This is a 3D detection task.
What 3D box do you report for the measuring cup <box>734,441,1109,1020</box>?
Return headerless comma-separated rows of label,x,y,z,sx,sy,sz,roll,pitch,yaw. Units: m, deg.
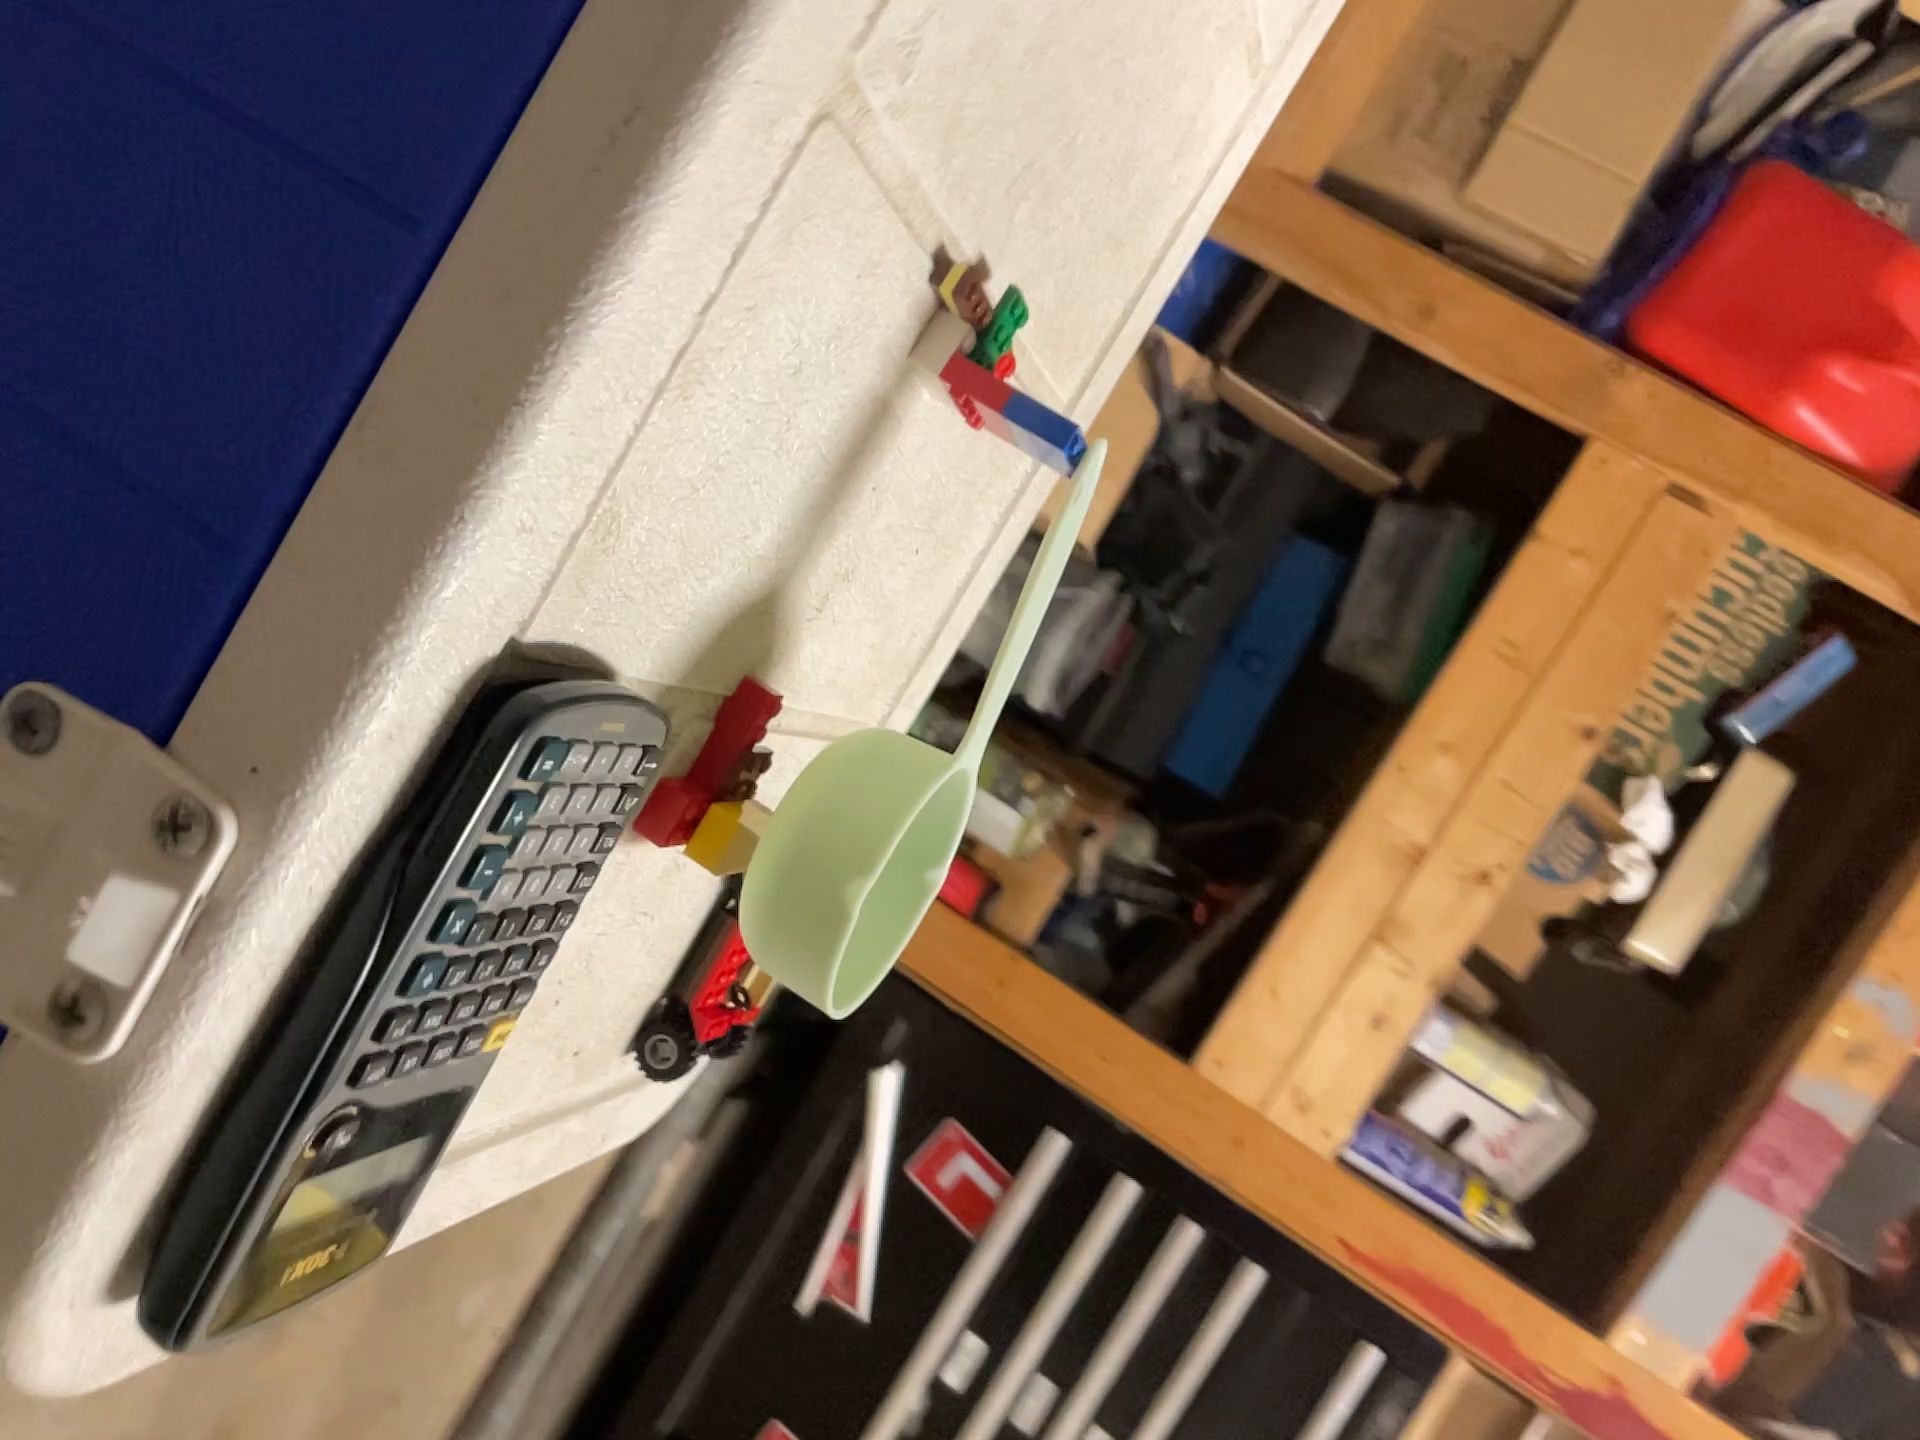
measuring cup,-0.010,-0.003,0.426,0.167,0.038,0.083,-65,166,4
